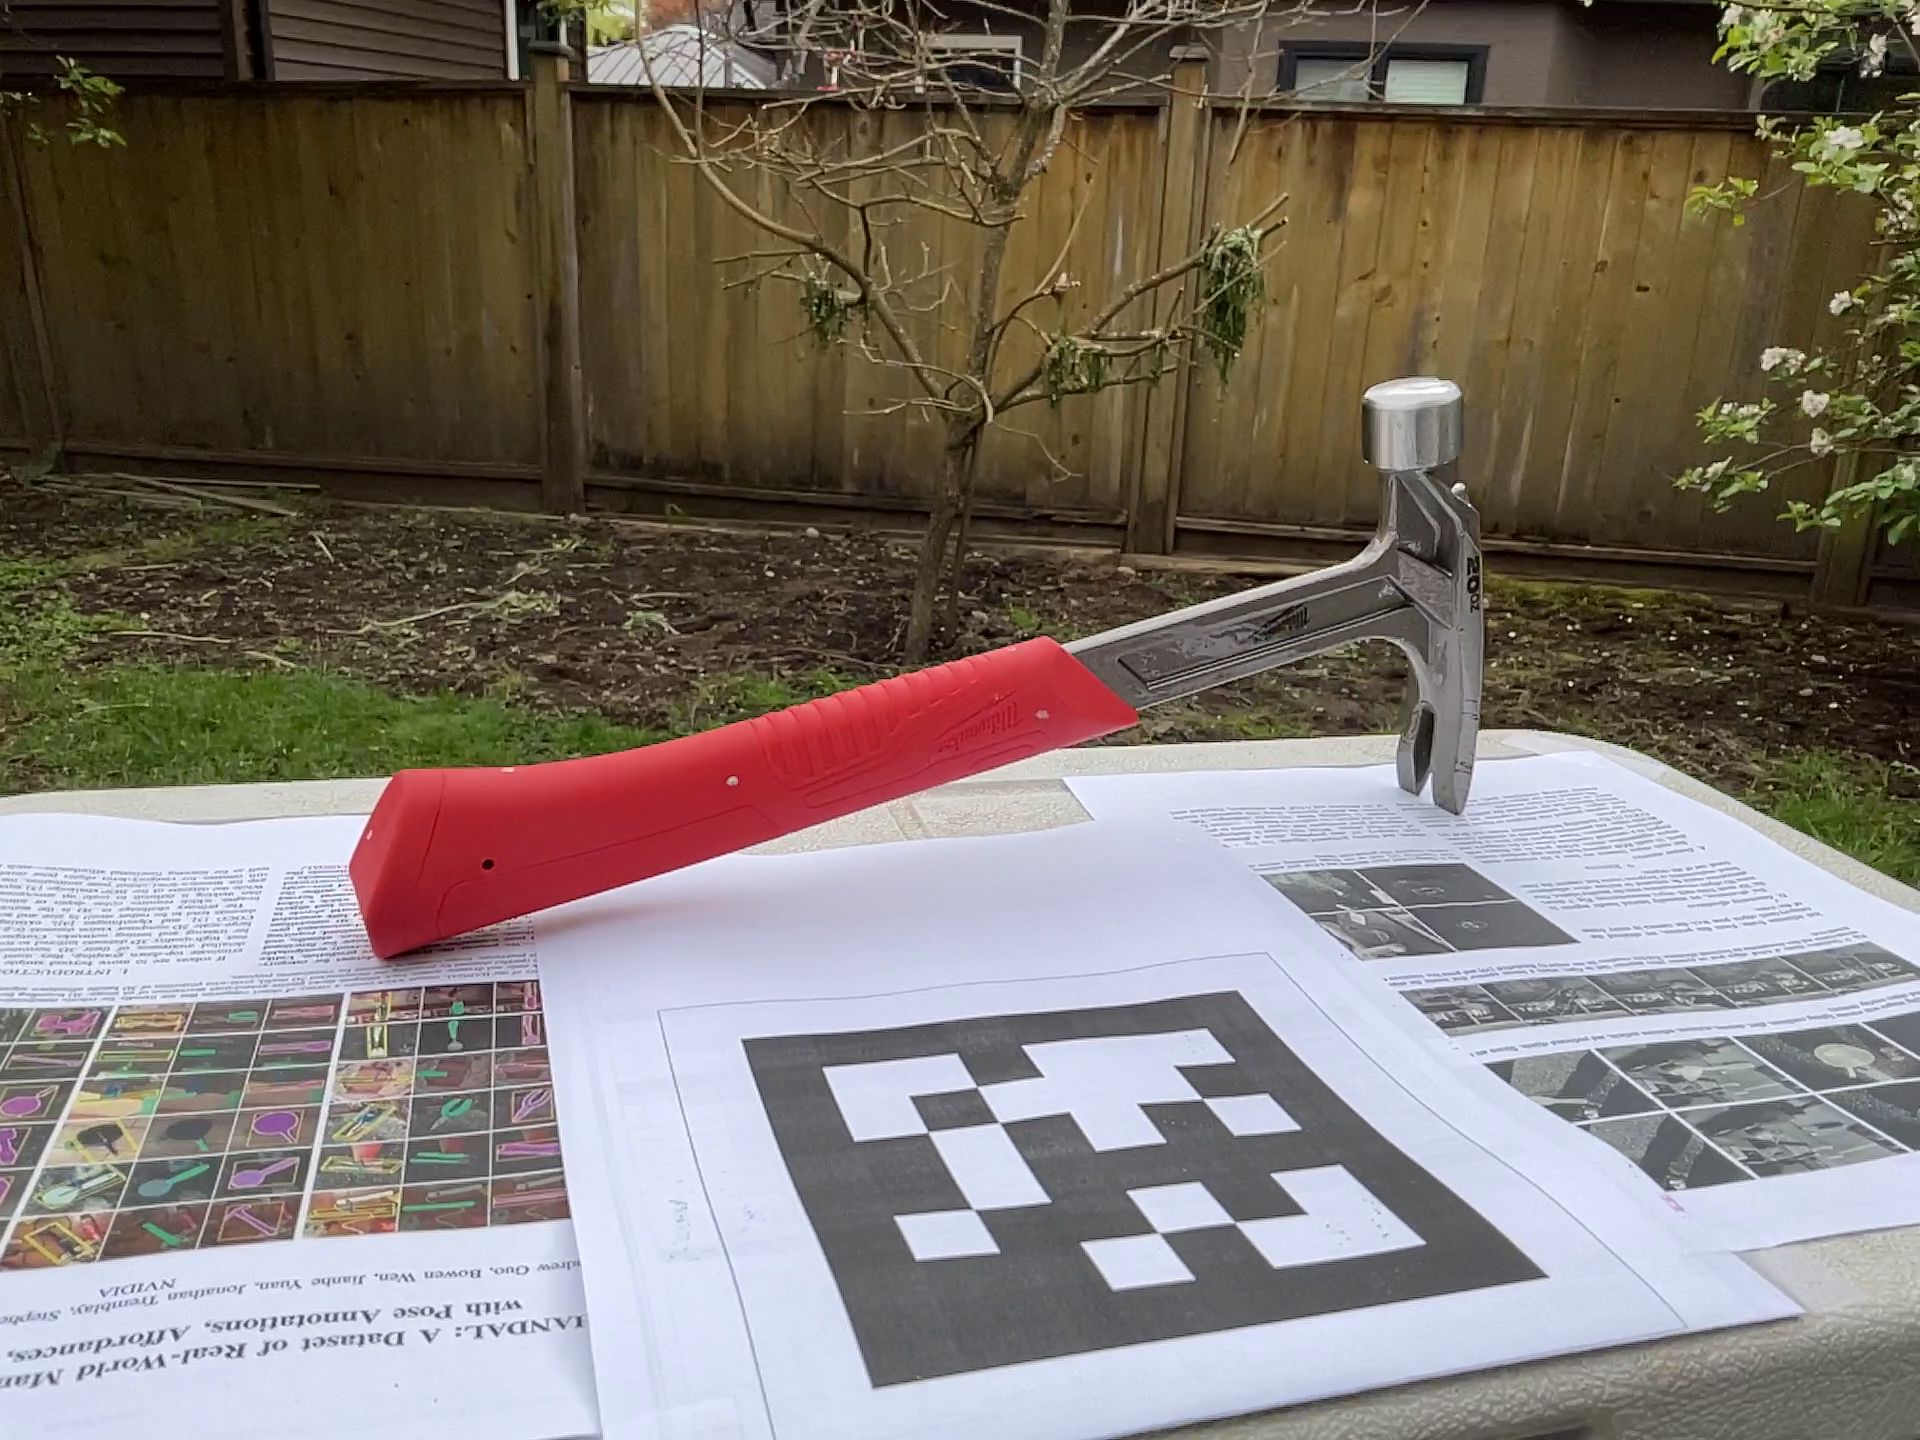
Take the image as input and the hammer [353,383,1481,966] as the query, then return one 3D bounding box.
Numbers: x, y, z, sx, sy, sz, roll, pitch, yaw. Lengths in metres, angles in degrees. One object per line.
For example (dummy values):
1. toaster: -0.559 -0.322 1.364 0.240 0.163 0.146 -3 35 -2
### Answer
1. hammer: 0.008 0.008 0.477 0.359 0.149 0.037 -17 25 -21
